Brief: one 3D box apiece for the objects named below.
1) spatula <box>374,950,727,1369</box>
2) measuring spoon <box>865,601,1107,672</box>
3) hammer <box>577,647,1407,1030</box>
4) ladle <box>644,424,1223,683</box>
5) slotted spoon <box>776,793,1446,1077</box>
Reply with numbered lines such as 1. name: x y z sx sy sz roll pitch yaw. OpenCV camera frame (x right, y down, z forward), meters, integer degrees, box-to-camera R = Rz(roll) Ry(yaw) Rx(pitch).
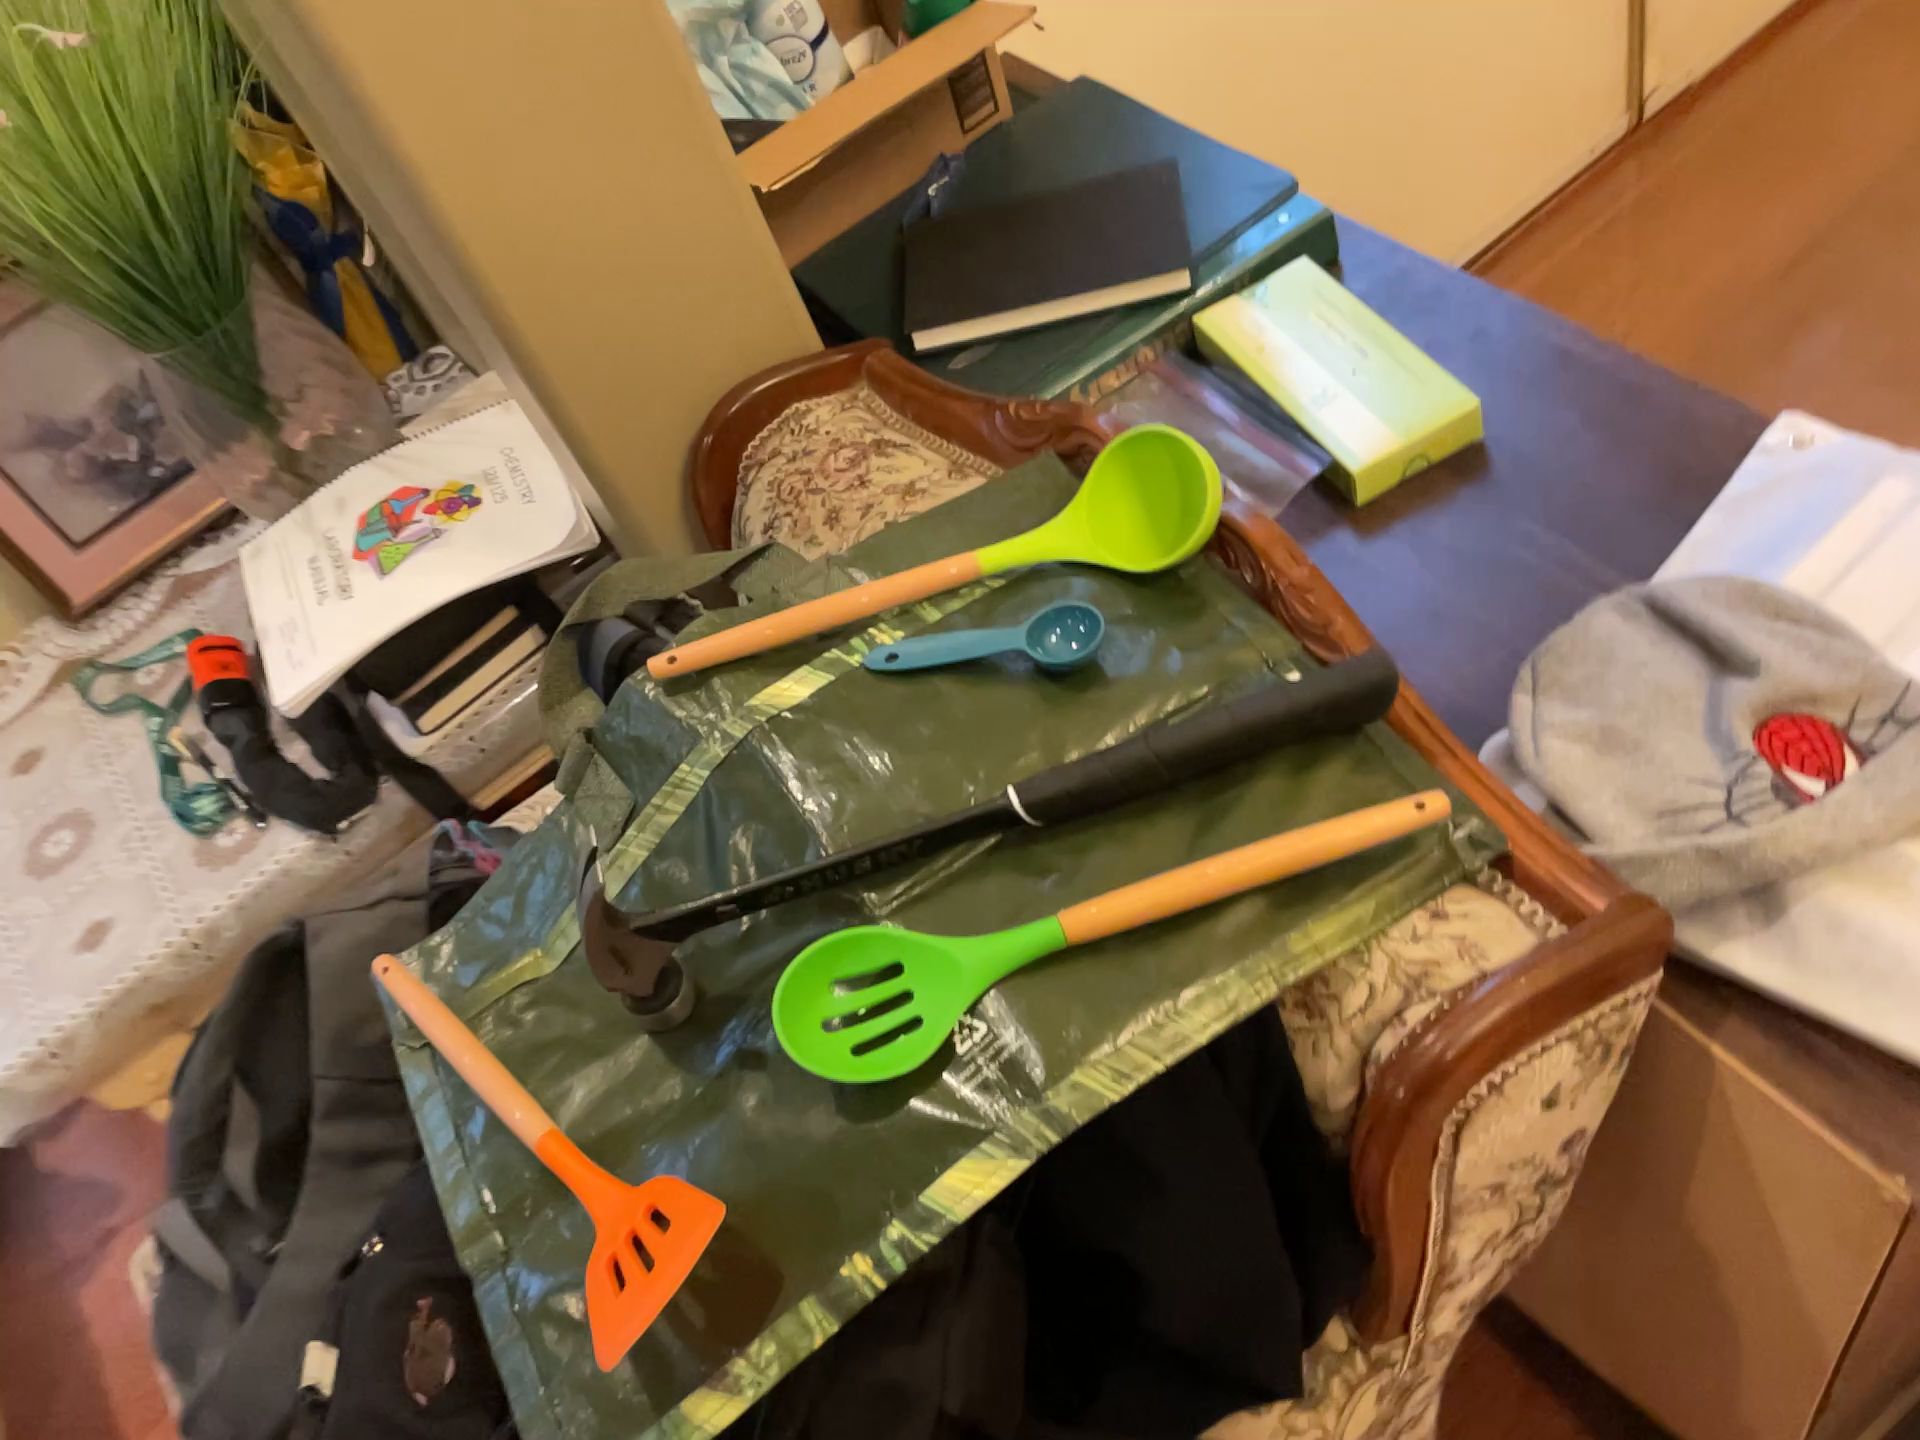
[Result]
1. spatula: -0.217 0.188 0.772 0.323 0.041 0.081 29 75 41
2. measuring spoon: 0.014 -0.034 0.816 0.129 0.021 0.042 -7 48 16
3. hammer: 0.016 0.043 0.751 0.409 0.149 0.036 -19 56 -2
4. ladle: -0.016 -0.078 0.837 0.320 0.062 0.078 -18 73 -1
5. slotted spoon: 0.071 0.088 0.710 0.313 0.031 0.070 -18 62 -5
